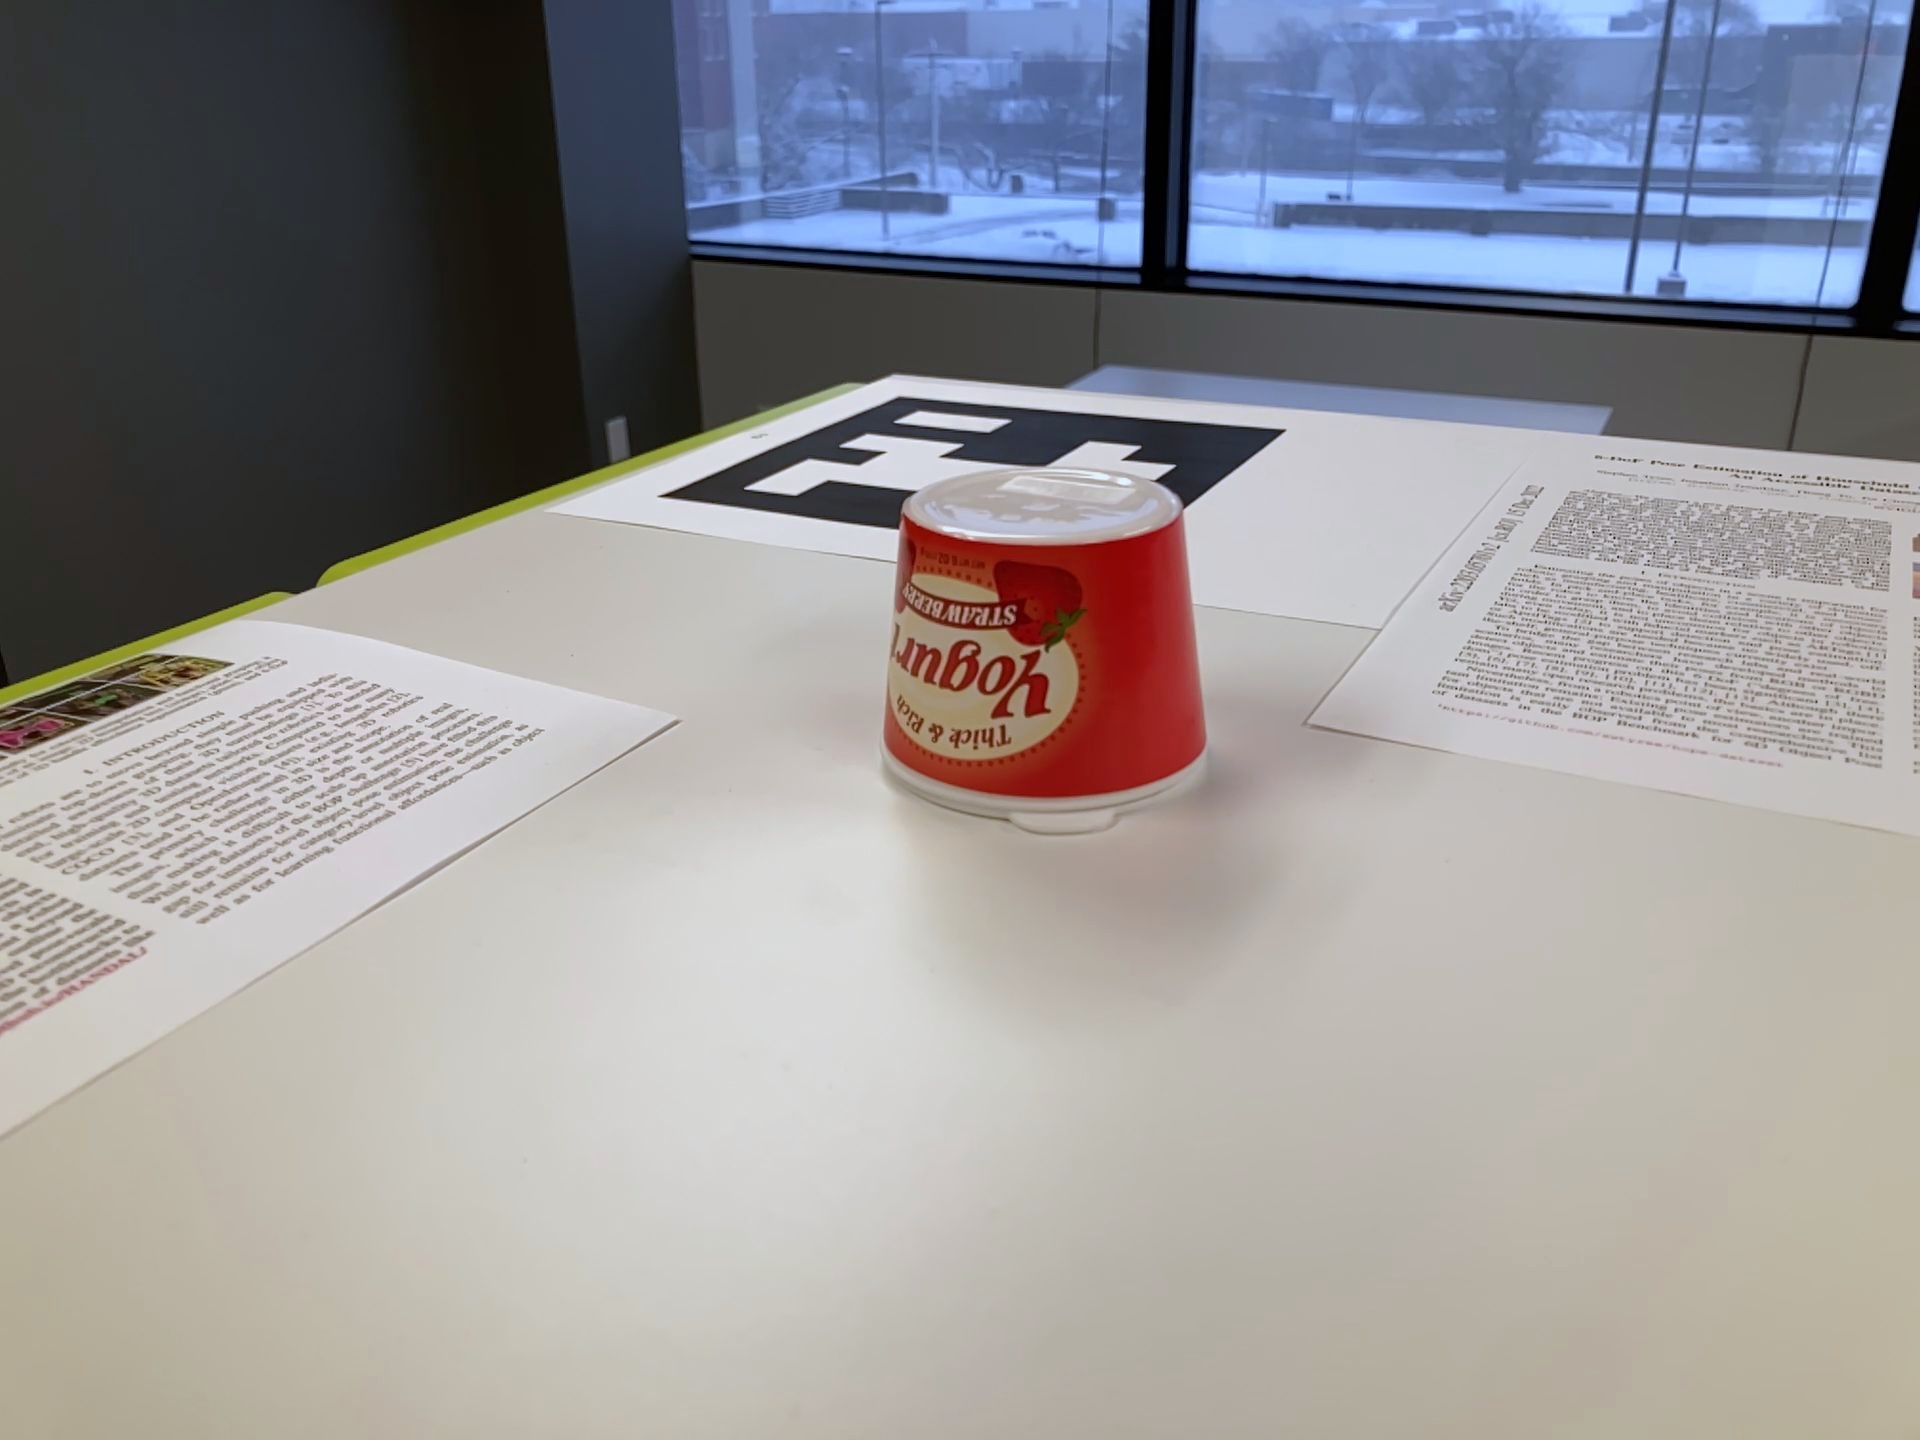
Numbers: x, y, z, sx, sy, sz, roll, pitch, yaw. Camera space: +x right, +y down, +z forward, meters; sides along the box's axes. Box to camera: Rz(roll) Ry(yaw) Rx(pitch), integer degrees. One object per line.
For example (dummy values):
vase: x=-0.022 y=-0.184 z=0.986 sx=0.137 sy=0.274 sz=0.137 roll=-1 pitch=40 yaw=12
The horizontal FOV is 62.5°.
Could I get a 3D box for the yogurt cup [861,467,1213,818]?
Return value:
yogurt cup: x=0.017 y=-0.019 z=0.317 sx=0.072 sy=0.054 sz=0.072 roll=-2 pitch=22 yaw=1
